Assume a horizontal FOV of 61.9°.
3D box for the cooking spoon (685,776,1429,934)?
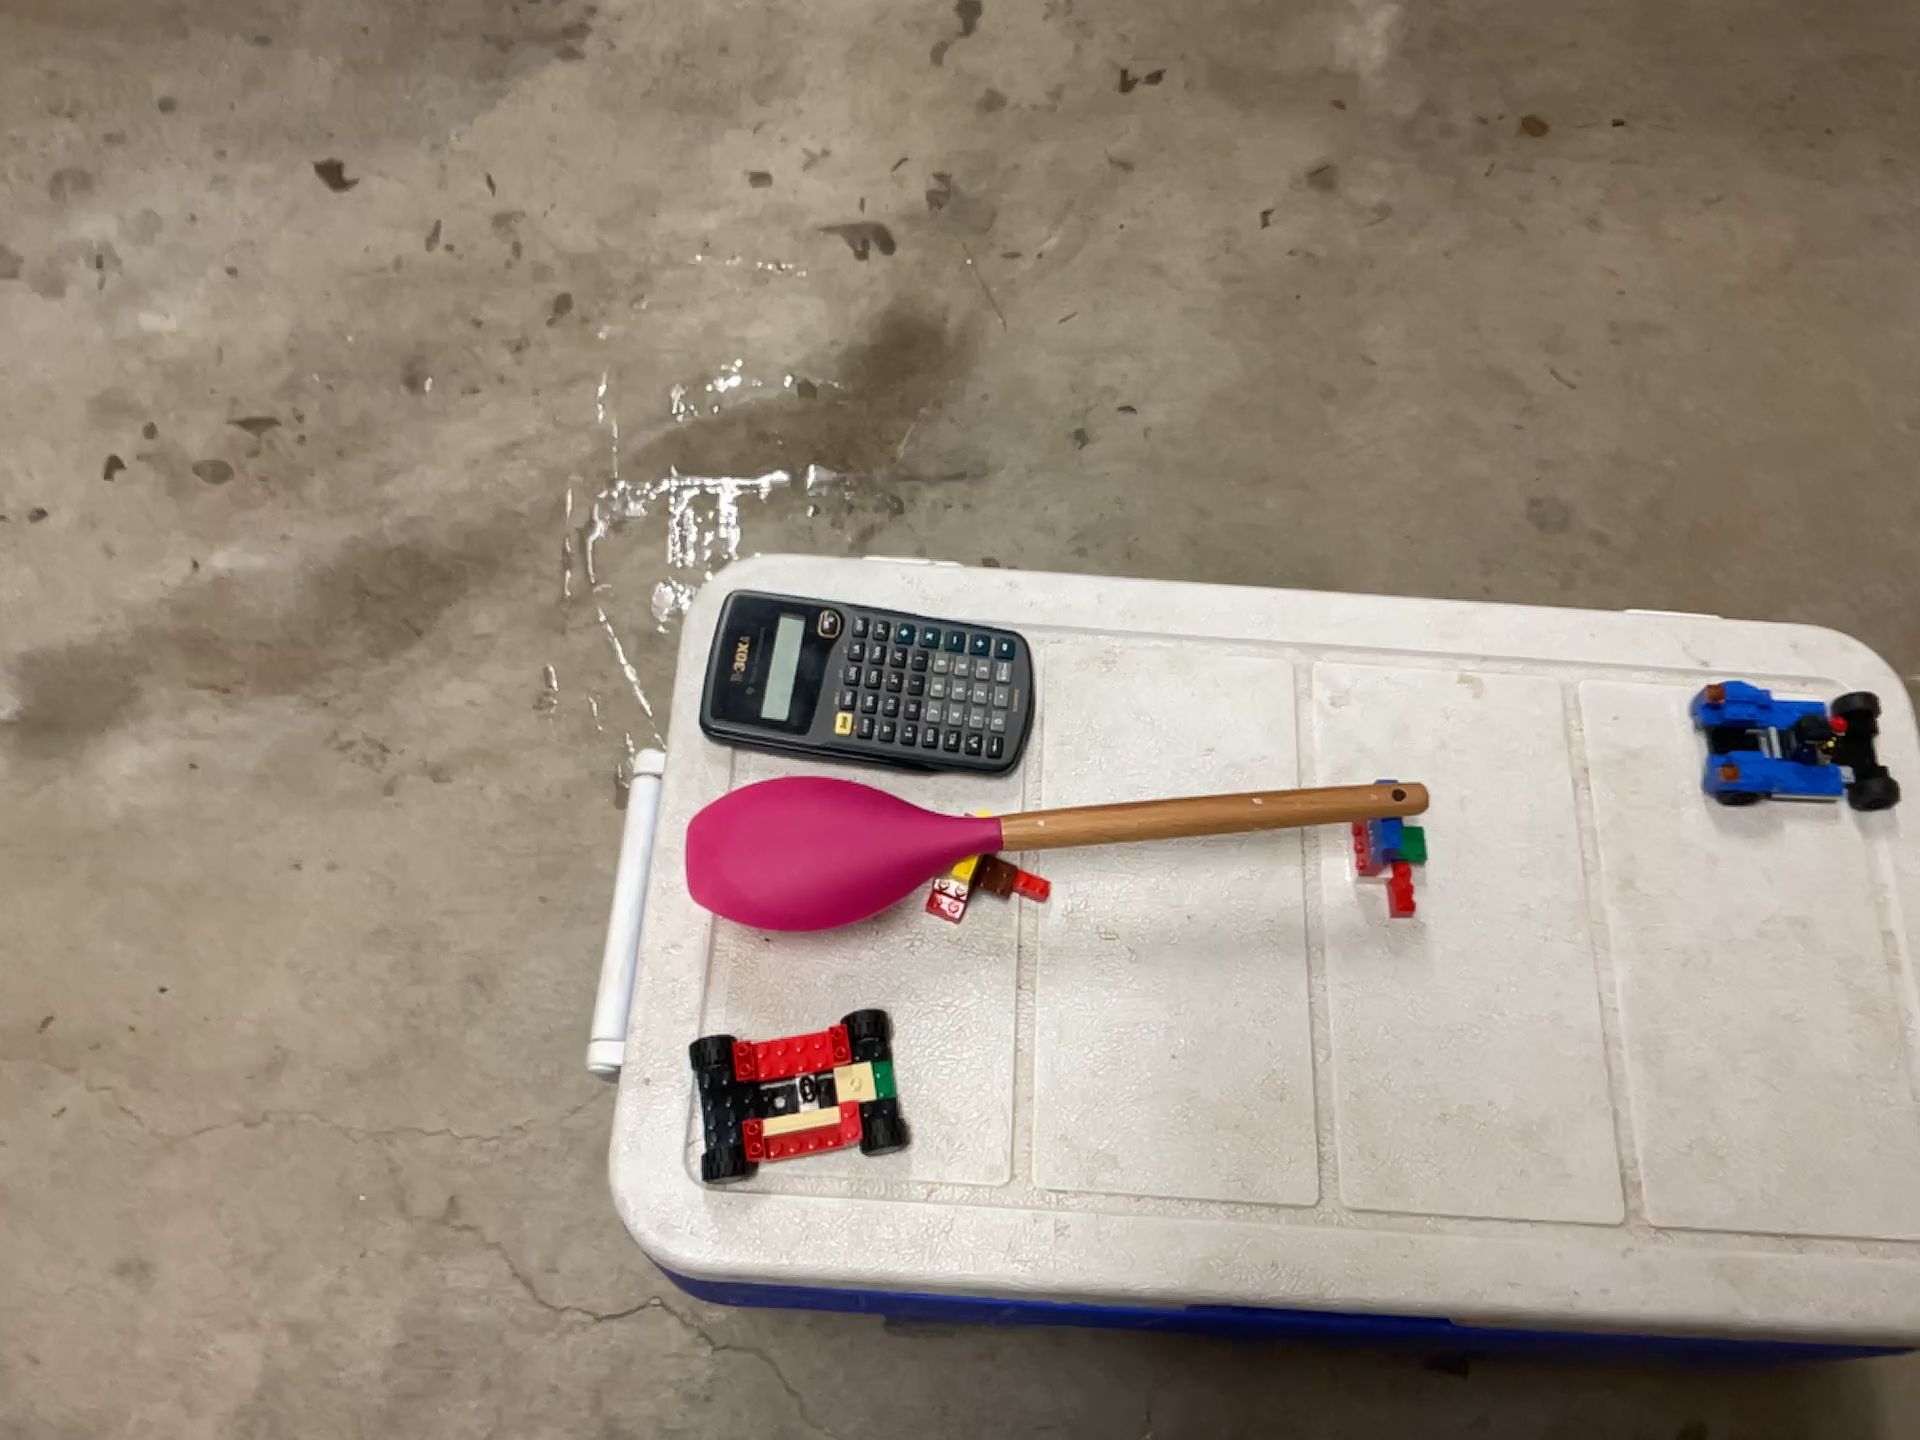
[{"bbox_3d":[0.043,0.046,0.682,0.319,0.017,0.069,-4,71,-4],"label":"cooking spoon"}]
